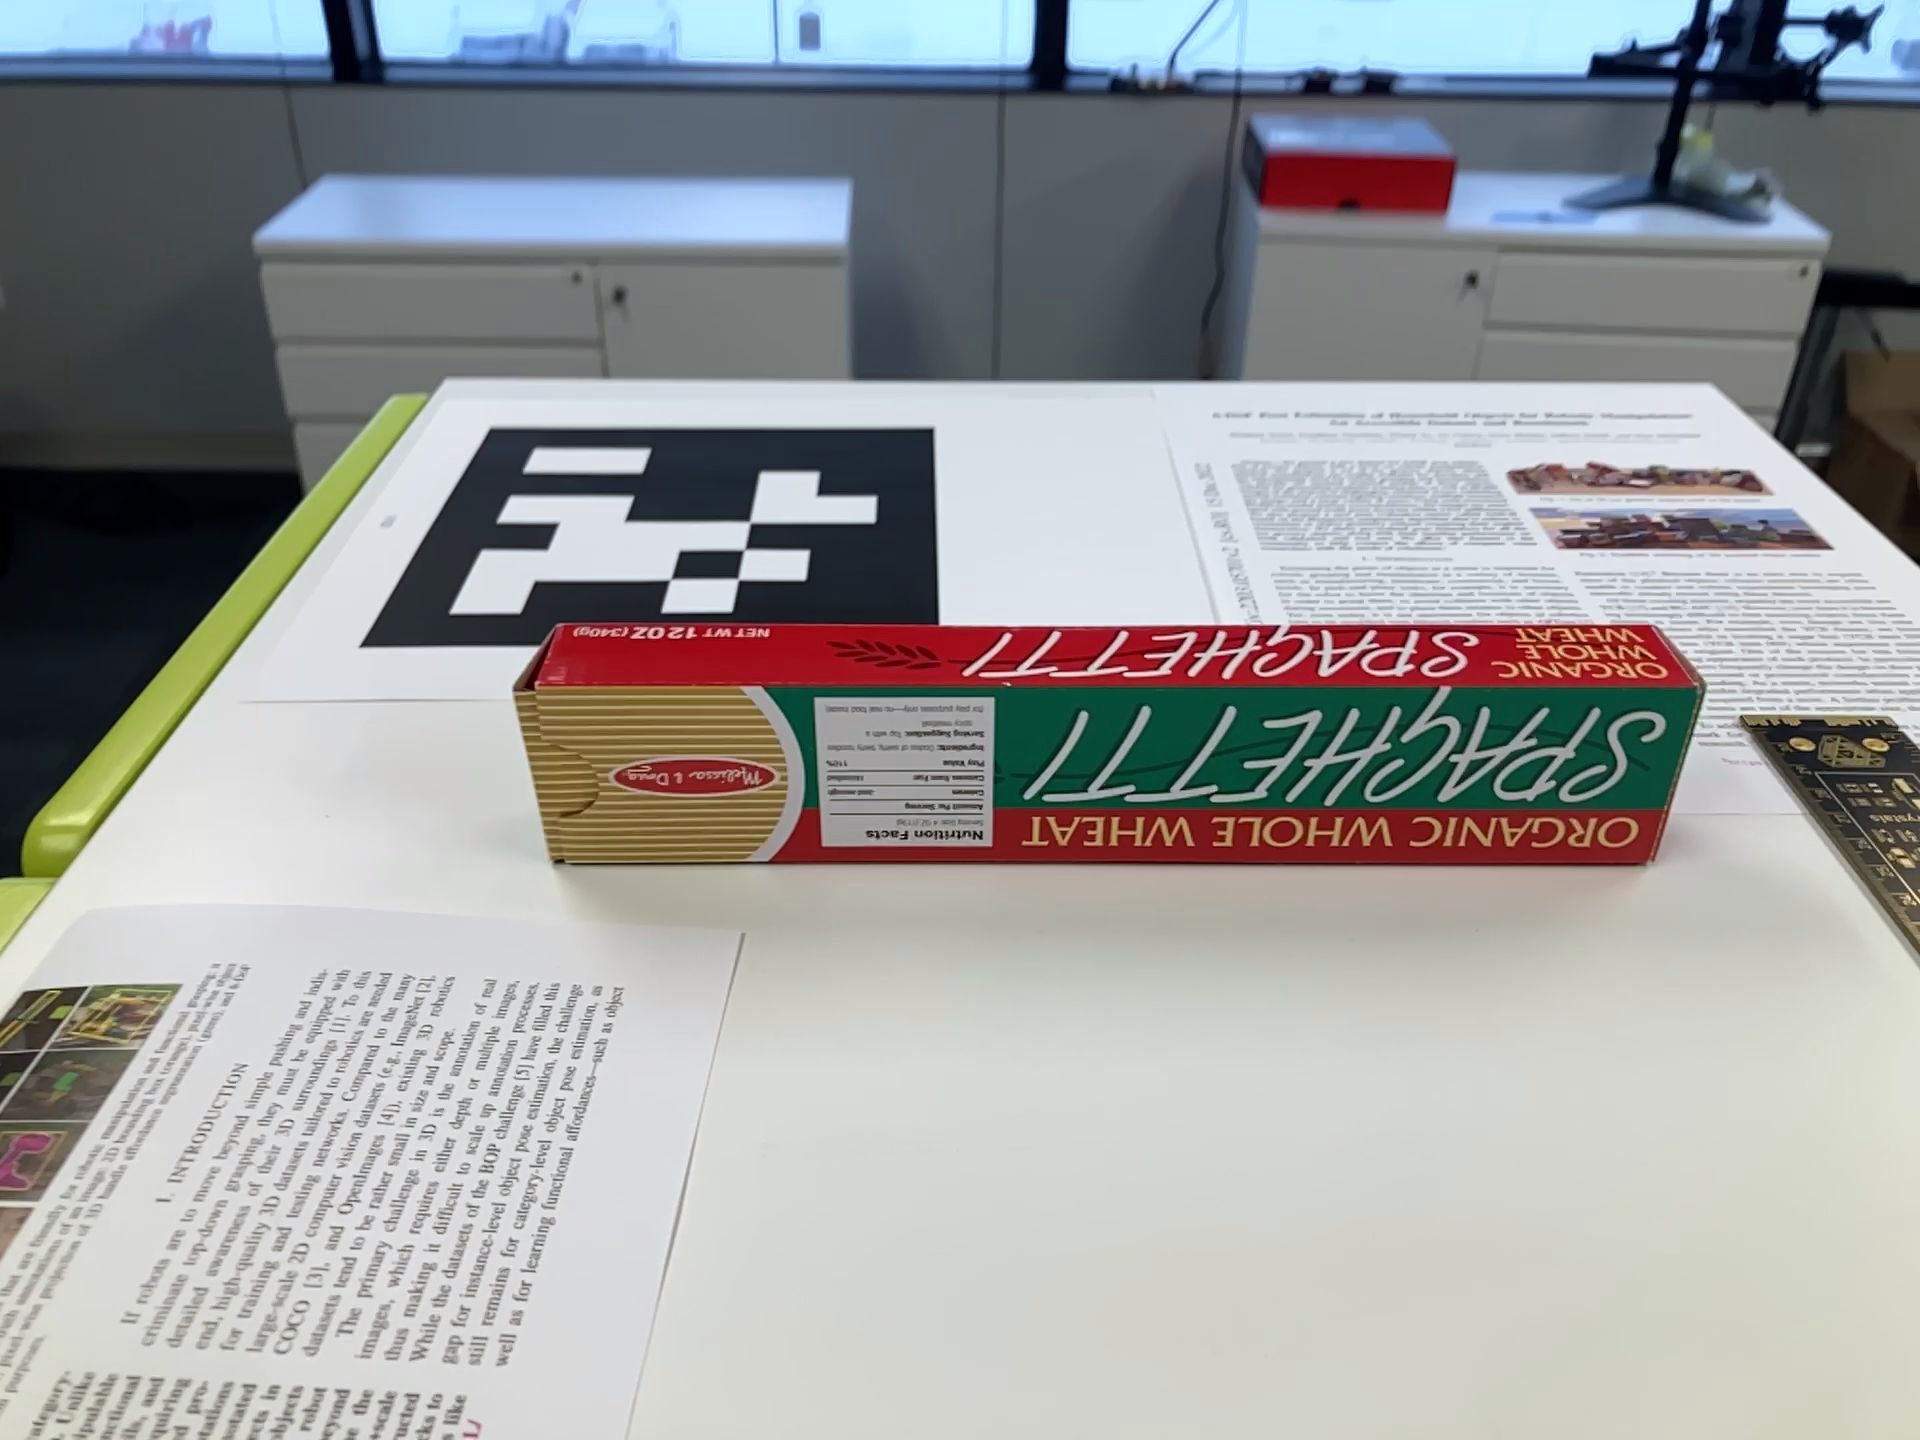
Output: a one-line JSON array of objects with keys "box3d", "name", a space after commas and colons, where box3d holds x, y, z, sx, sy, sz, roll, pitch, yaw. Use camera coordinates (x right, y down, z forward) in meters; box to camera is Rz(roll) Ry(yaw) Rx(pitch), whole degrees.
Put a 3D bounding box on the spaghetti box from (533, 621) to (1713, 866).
[{"box3d": [0.035, 0.006, 0.358, 0.250, 0.050, 0.028, 0, 34, -1], "name": "spaghetti box"}]
